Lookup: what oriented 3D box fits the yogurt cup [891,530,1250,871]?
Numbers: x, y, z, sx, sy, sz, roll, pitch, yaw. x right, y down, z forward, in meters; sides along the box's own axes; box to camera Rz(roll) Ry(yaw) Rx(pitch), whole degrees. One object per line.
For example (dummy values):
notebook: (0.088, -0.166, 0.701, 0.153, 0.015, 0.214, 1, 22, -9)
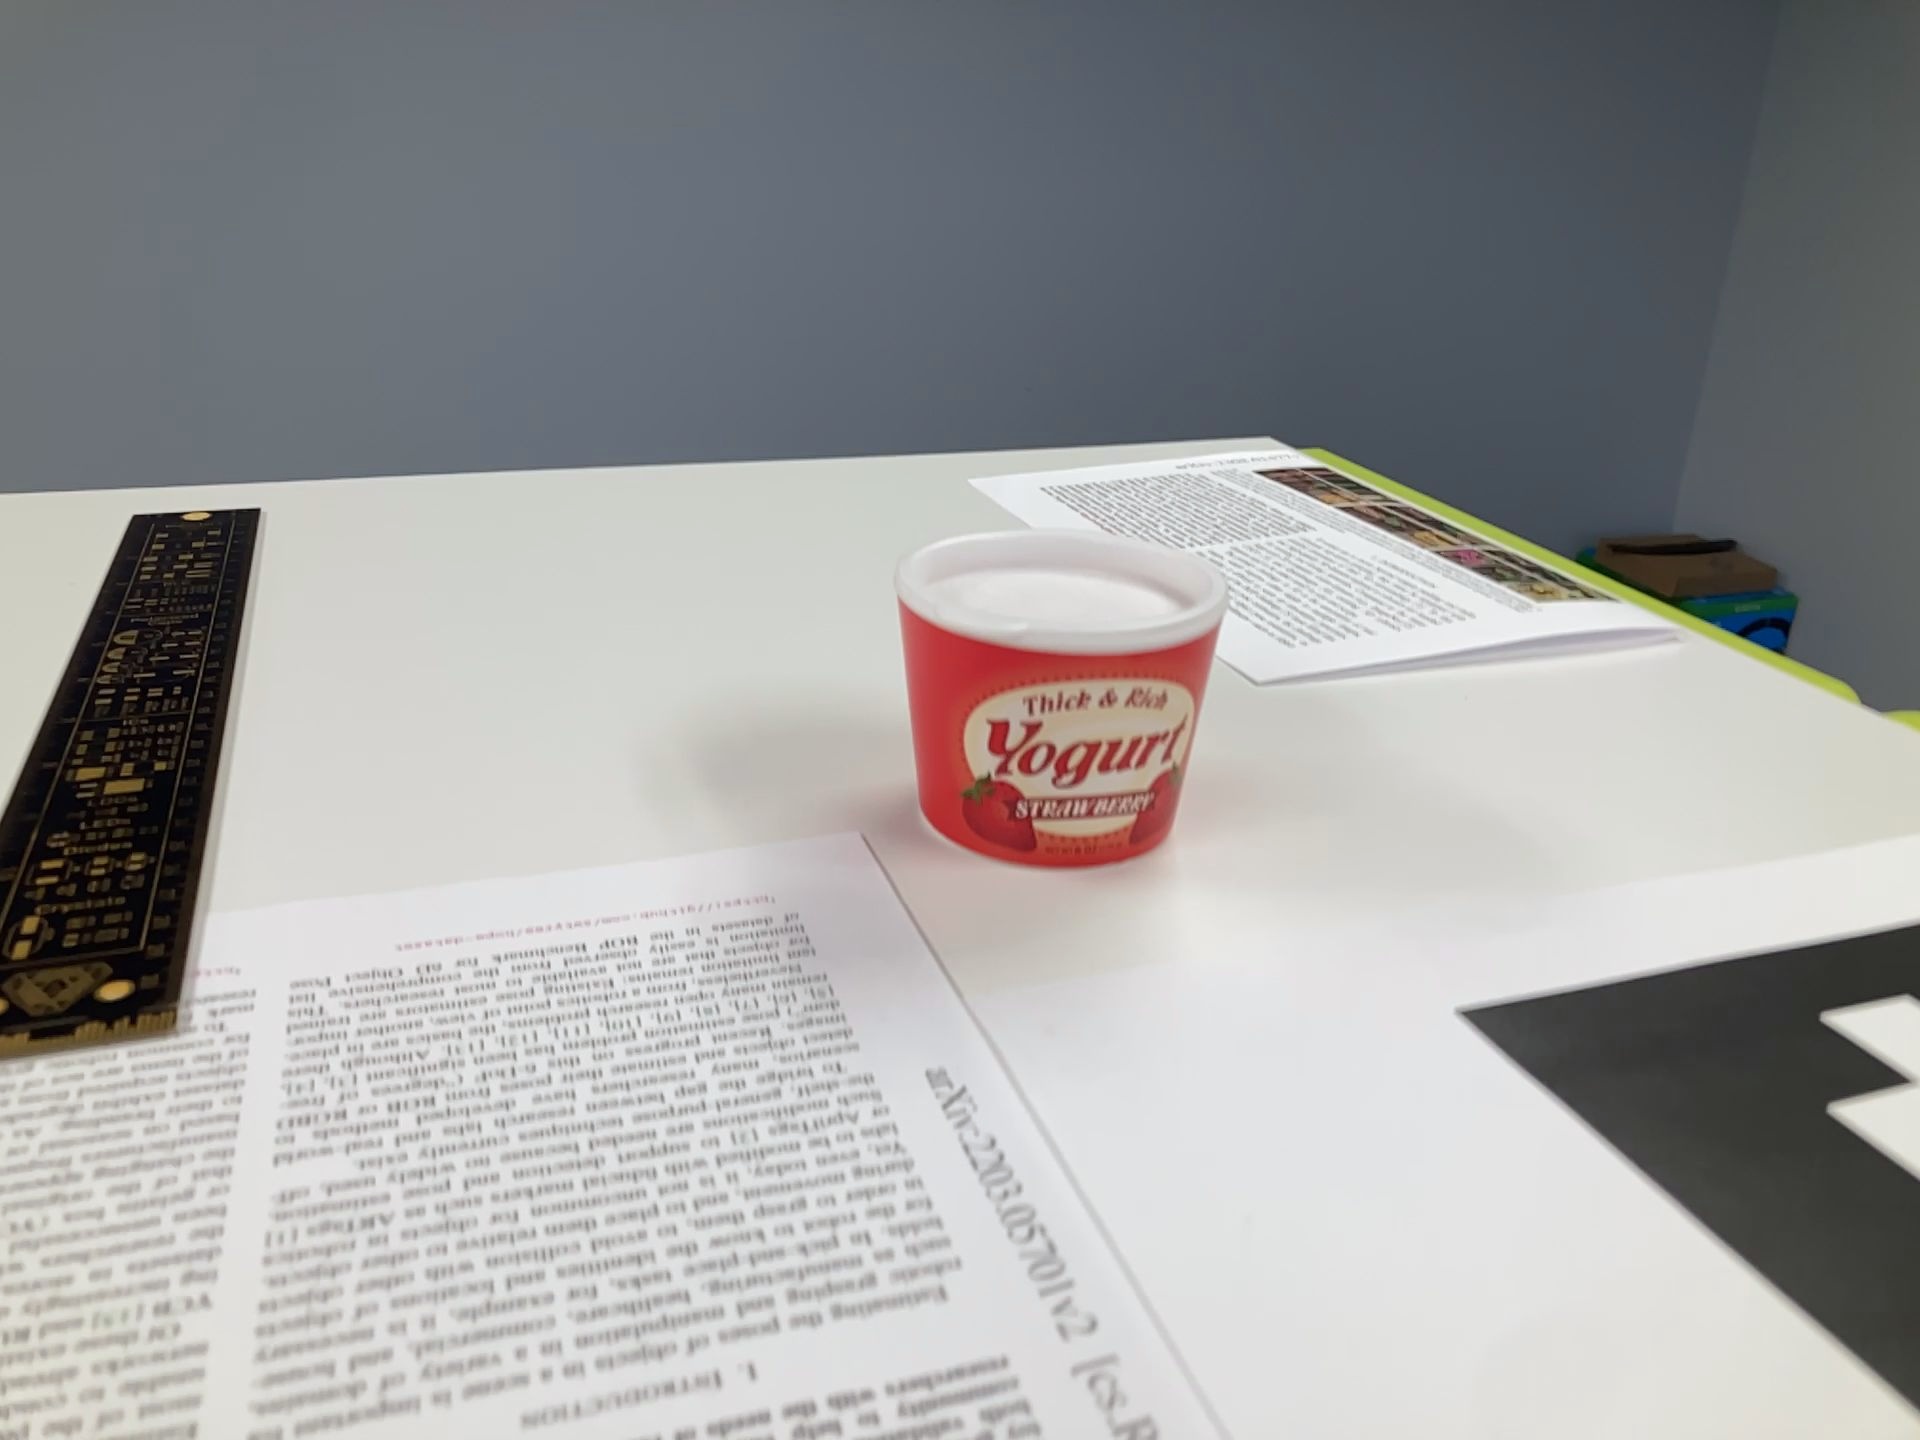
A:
yogurt cup: (0.019, -0.005, 0.323, 0.072, 0.054, 0.072, 2, 22, -1)
